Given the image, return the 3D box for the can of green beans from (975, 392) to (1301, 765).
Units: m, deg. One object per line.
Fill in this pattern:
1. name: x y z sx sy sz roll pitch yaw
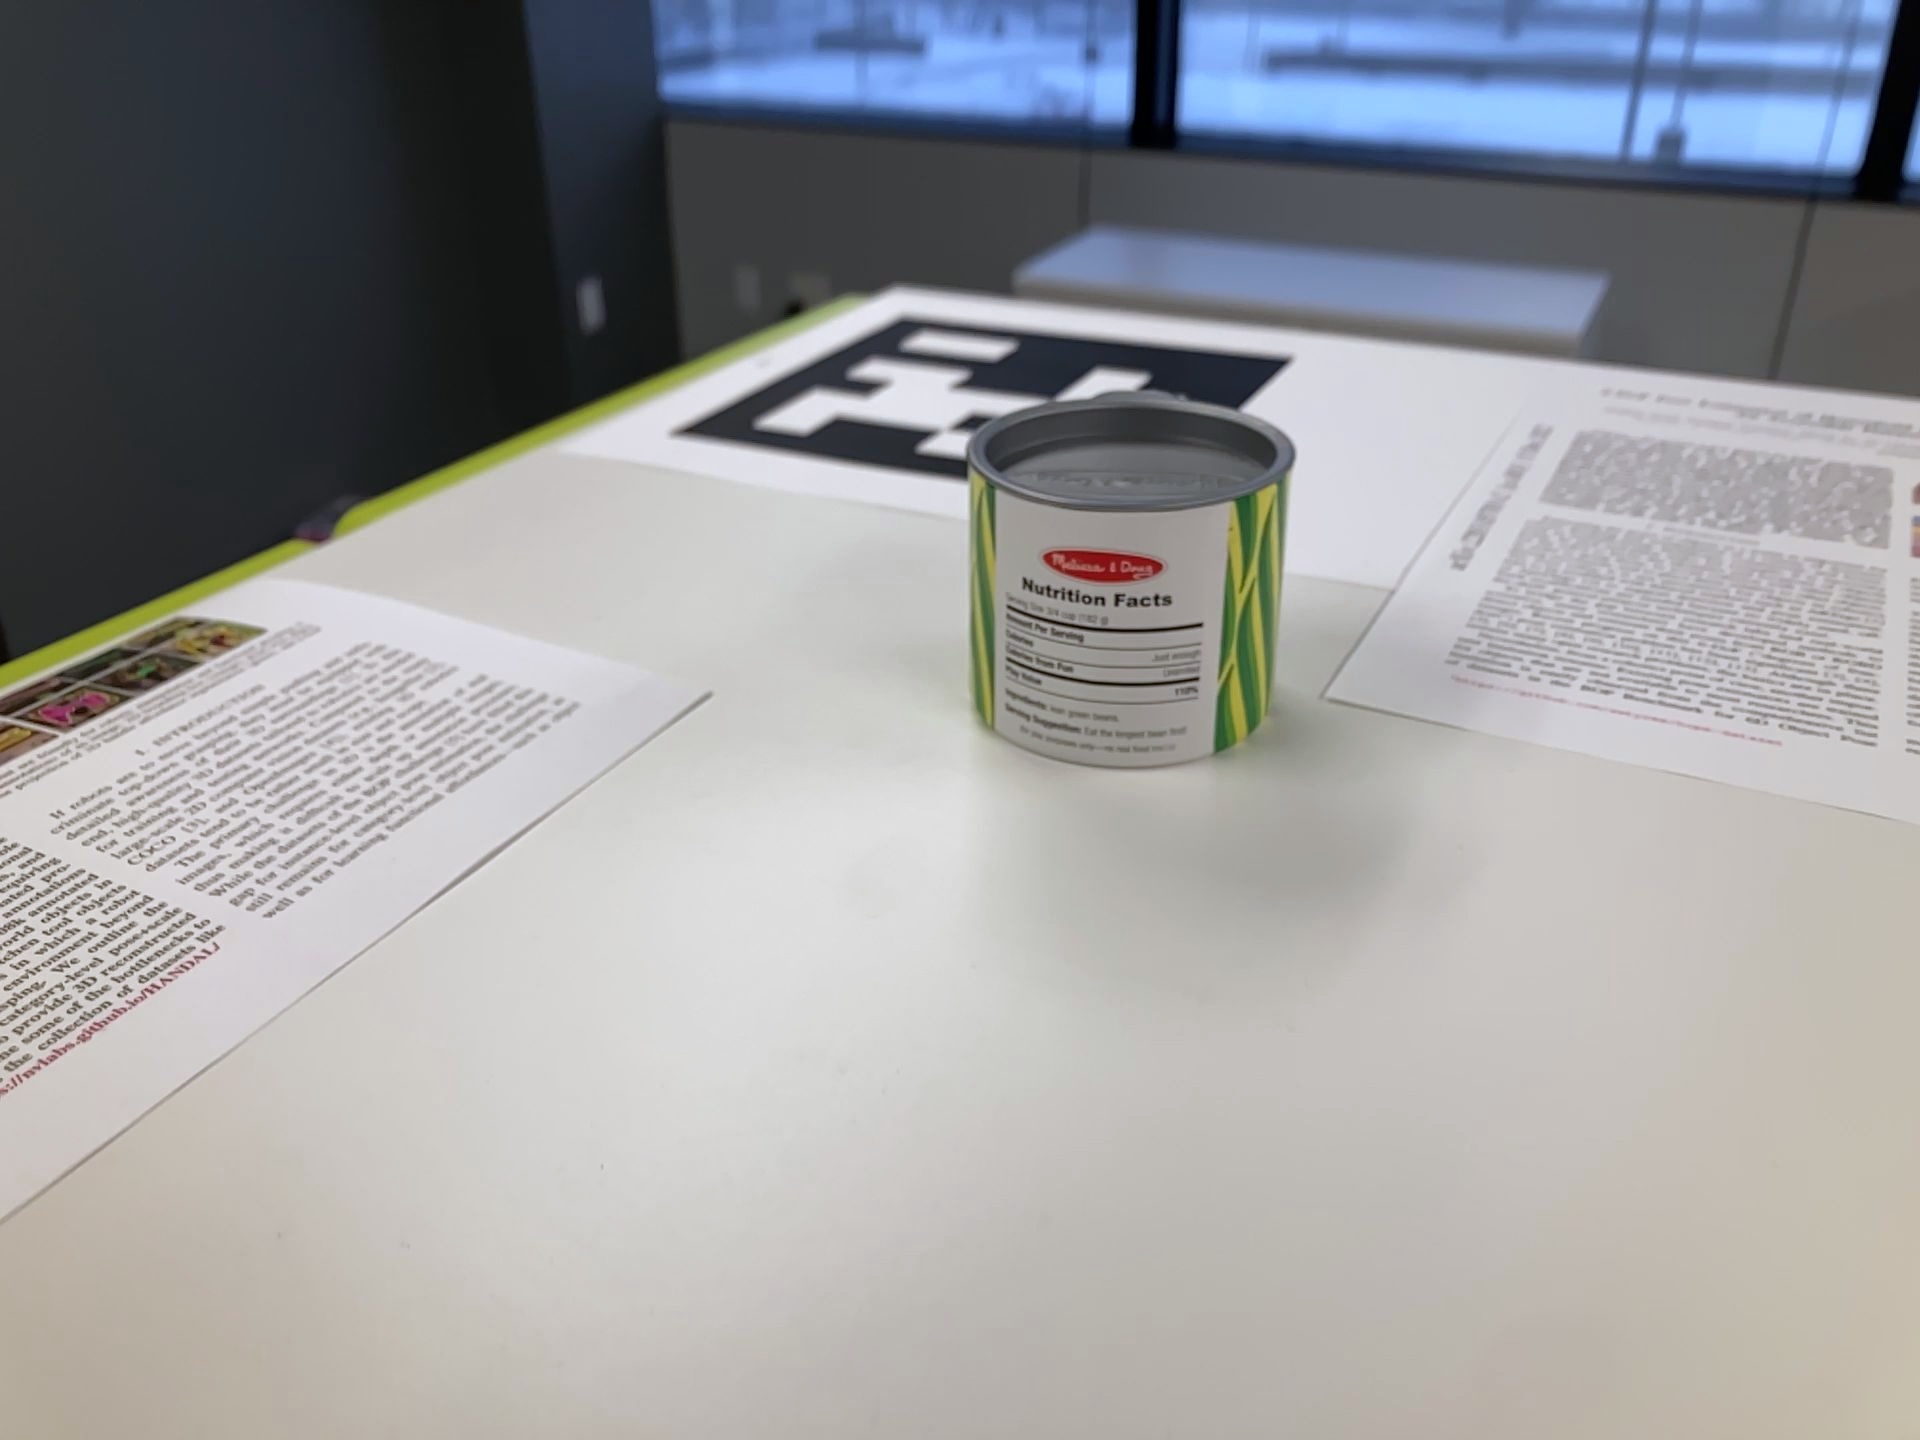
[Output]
1. can of green beans: 0.036 -0.031 0.341 0.071 0.058 0.071 0 29 0
